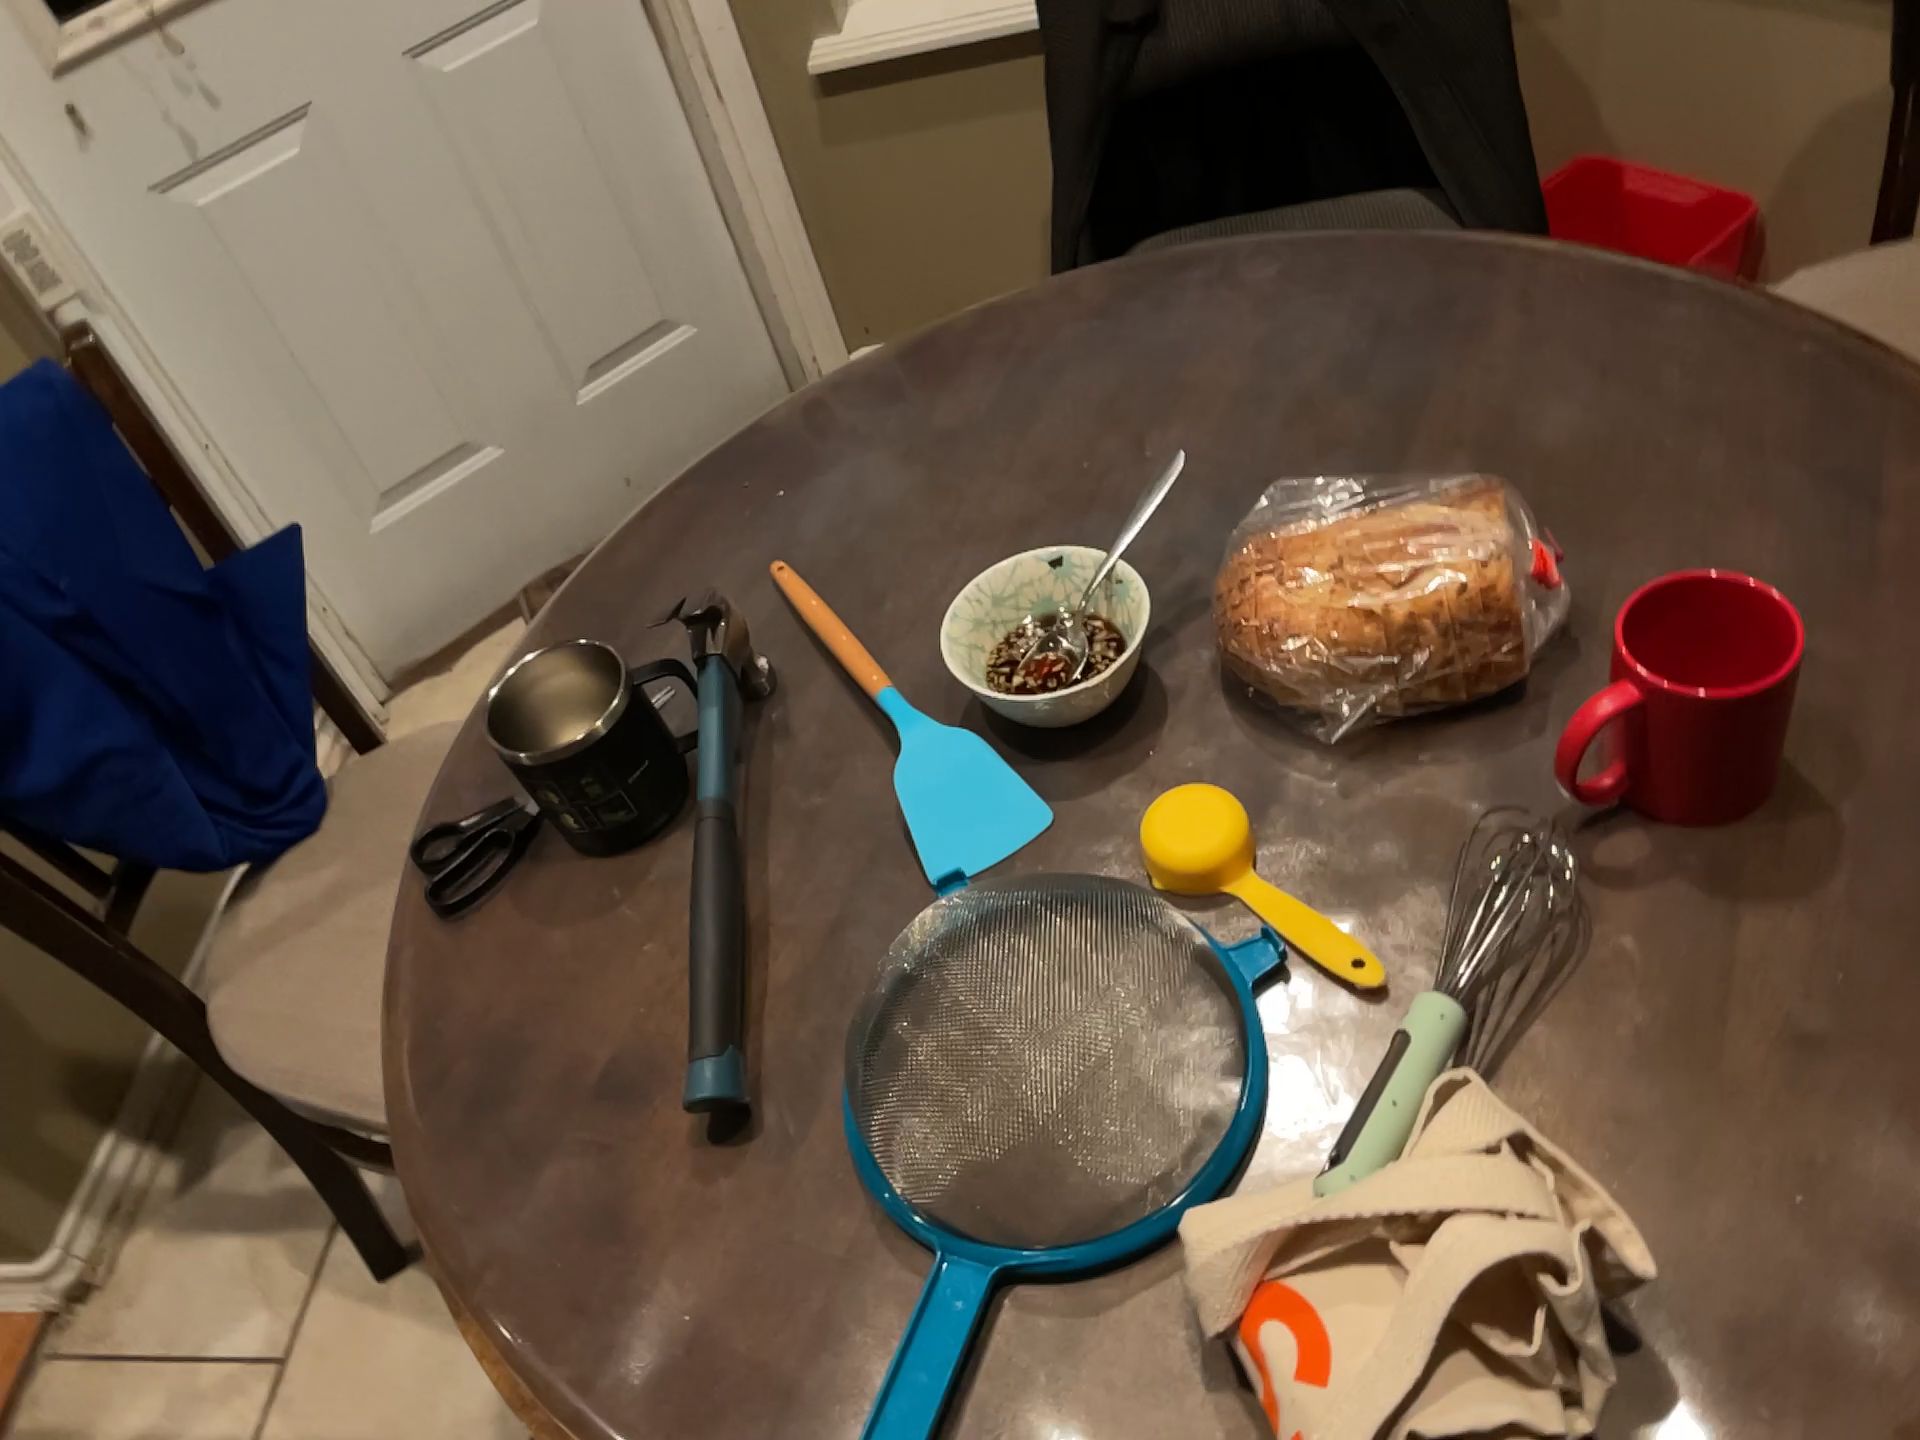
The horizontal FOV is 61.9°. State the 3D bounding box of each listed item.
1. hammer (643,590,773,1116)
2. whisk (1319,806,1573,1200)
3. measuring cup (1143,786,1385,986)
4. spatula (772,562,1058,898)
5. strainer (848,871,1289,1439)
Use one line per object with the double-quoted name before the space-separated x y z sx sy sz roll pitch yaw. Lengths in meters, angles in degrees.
"hammer" -0.137 0.065 0.899 0.033 0.128 0.331 -14 54 10
"whisk" 0.220 0.125 0.723 0.059 0.057 0.246 37 54 7
"measuring cup" 0.154 0.083 0.817 0.062 0.029 0.157 -38 46 -16
"spatula" -0.052 -0.015 0.989 0.082 0.044 0.318 -31 42 -9
"strainer" 0.012 0.188 0.725 0.211 0.095 0.341 7 47 26
